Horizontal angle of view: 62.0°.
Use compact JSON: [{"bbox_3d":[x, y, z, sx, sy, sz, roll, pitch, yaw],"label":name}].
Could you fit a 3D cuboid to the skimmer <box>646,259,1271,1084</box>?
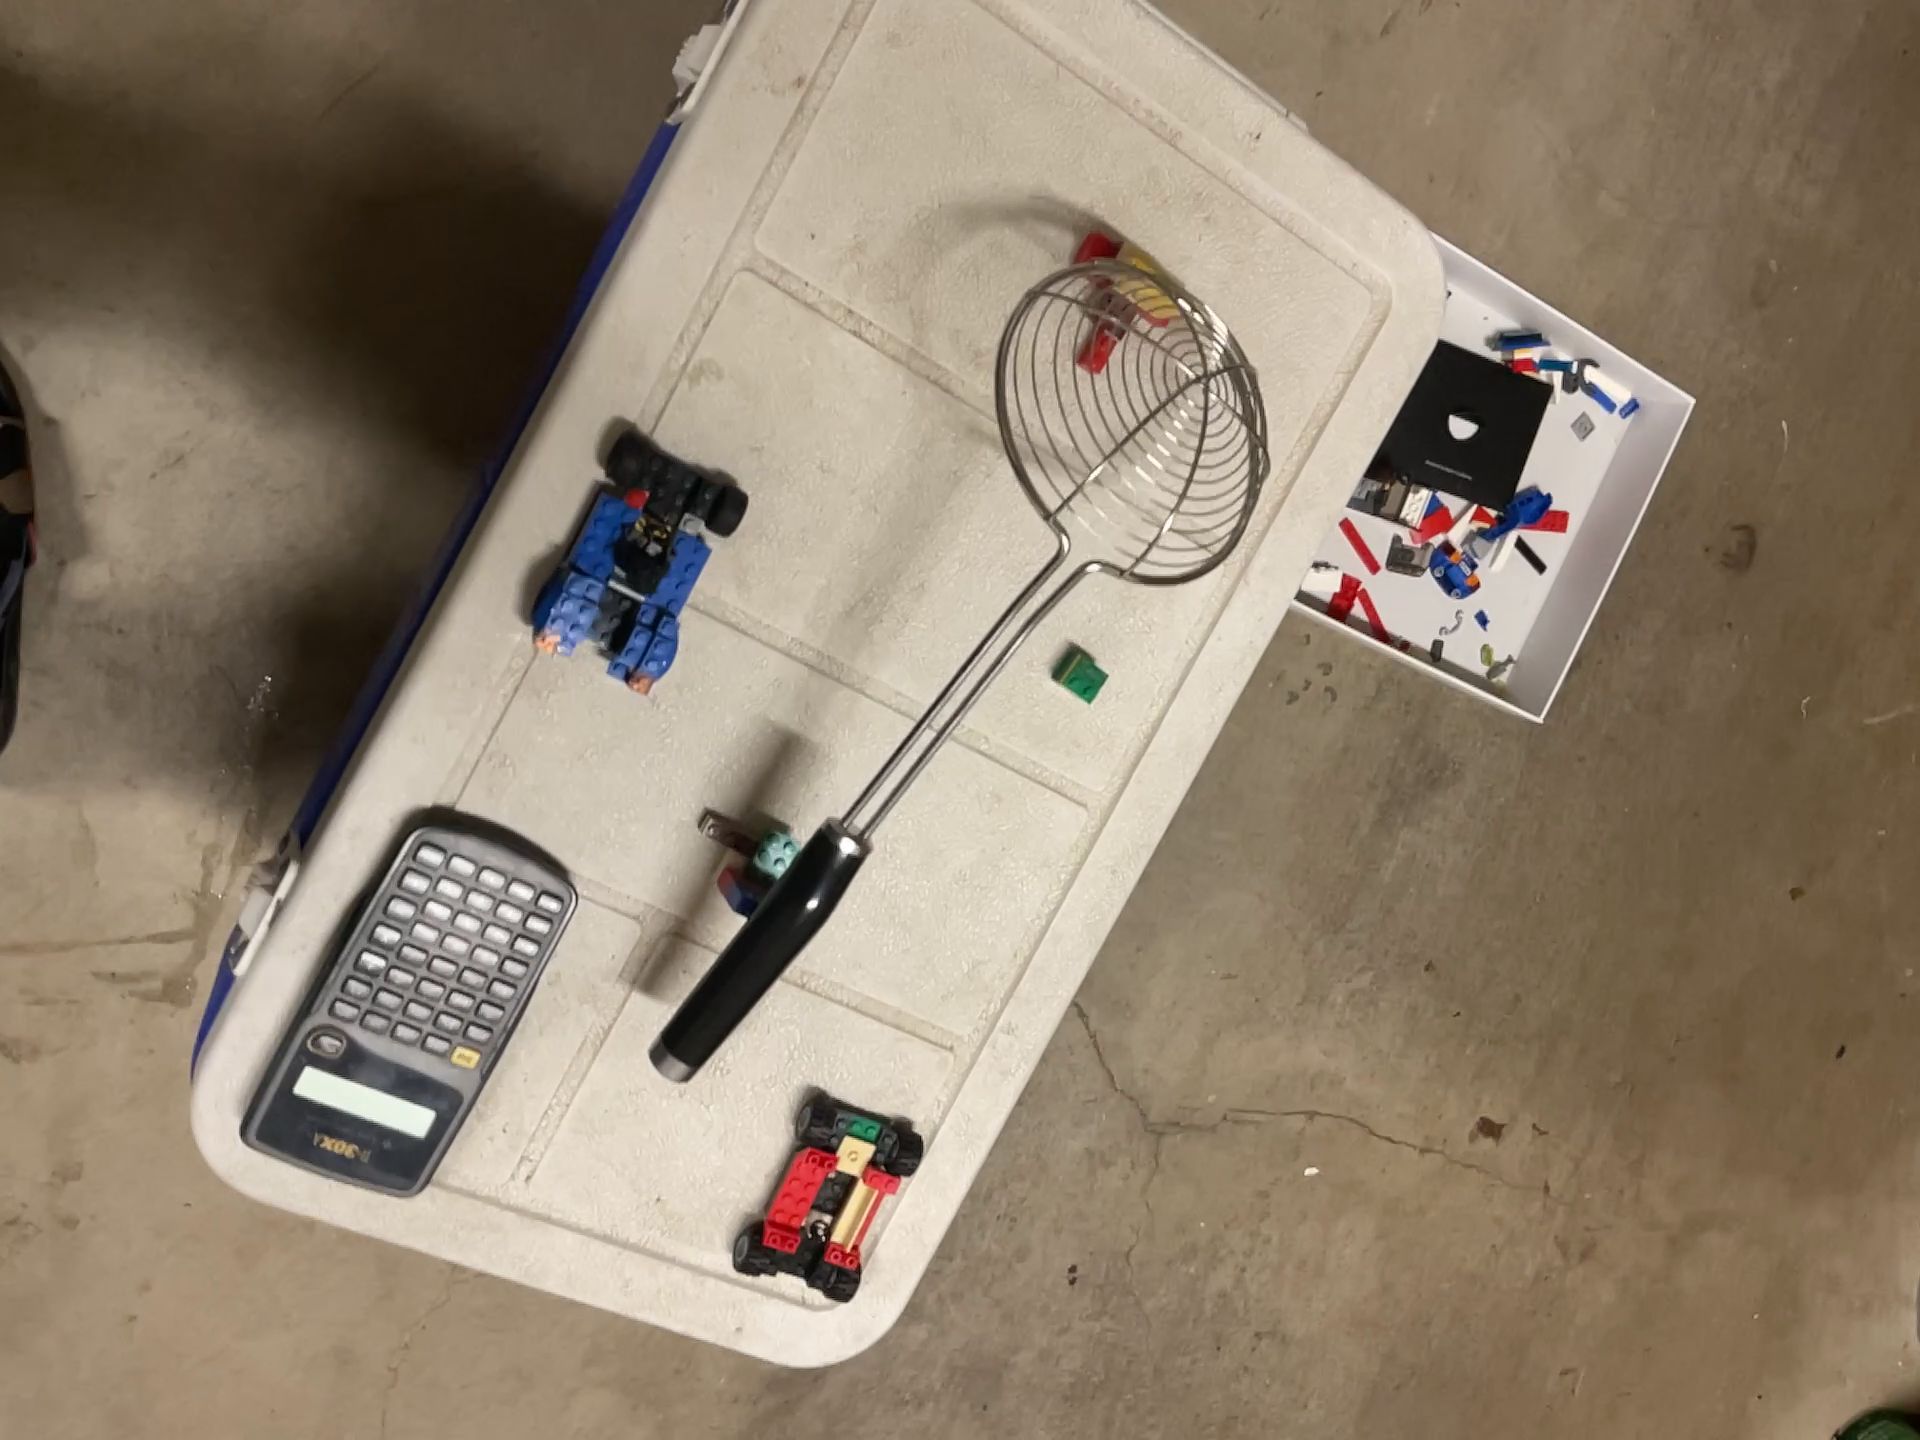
[{"bbox_3d":[-0.012,-0.012,0.632,0.127,0.090,0.363,33,102,-23],"label":"skimmer"}]
